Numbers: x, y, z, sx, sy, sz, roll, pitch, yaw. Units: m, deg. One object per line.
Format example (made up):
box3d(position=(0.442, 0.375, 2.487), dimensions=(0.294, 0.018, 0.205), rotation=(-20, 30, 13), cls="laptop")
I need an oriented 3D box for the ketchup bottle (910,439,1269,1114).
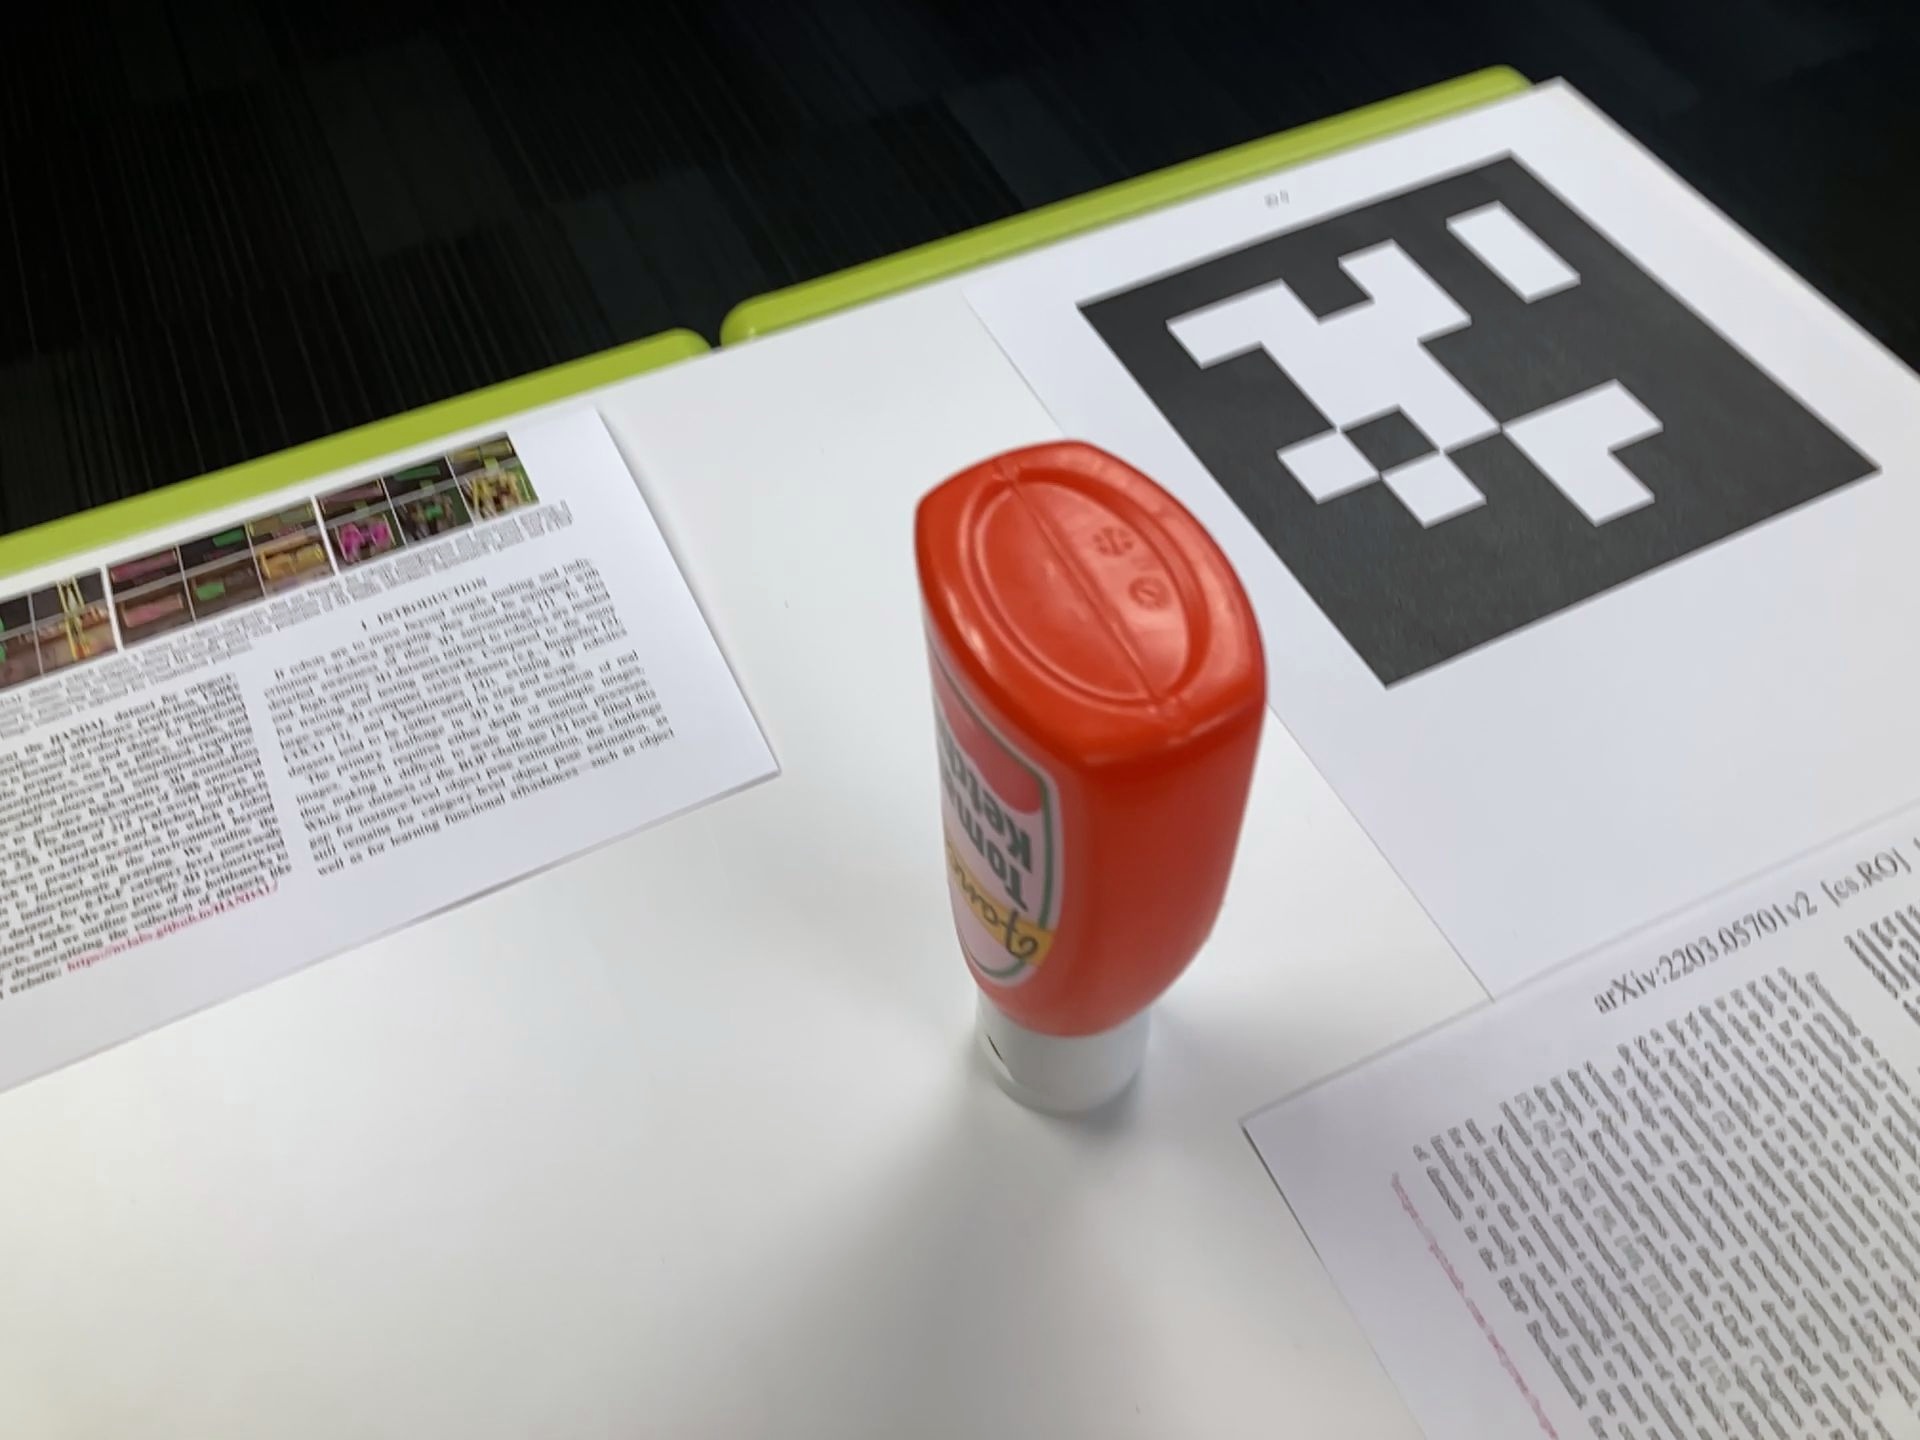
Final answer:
box3d(position=(0.020, 0.024, 0.280), dimensions=(0.043, 0.149, 0.065), rotation=(-21, 56, -13), cls="ketchup bottle")
